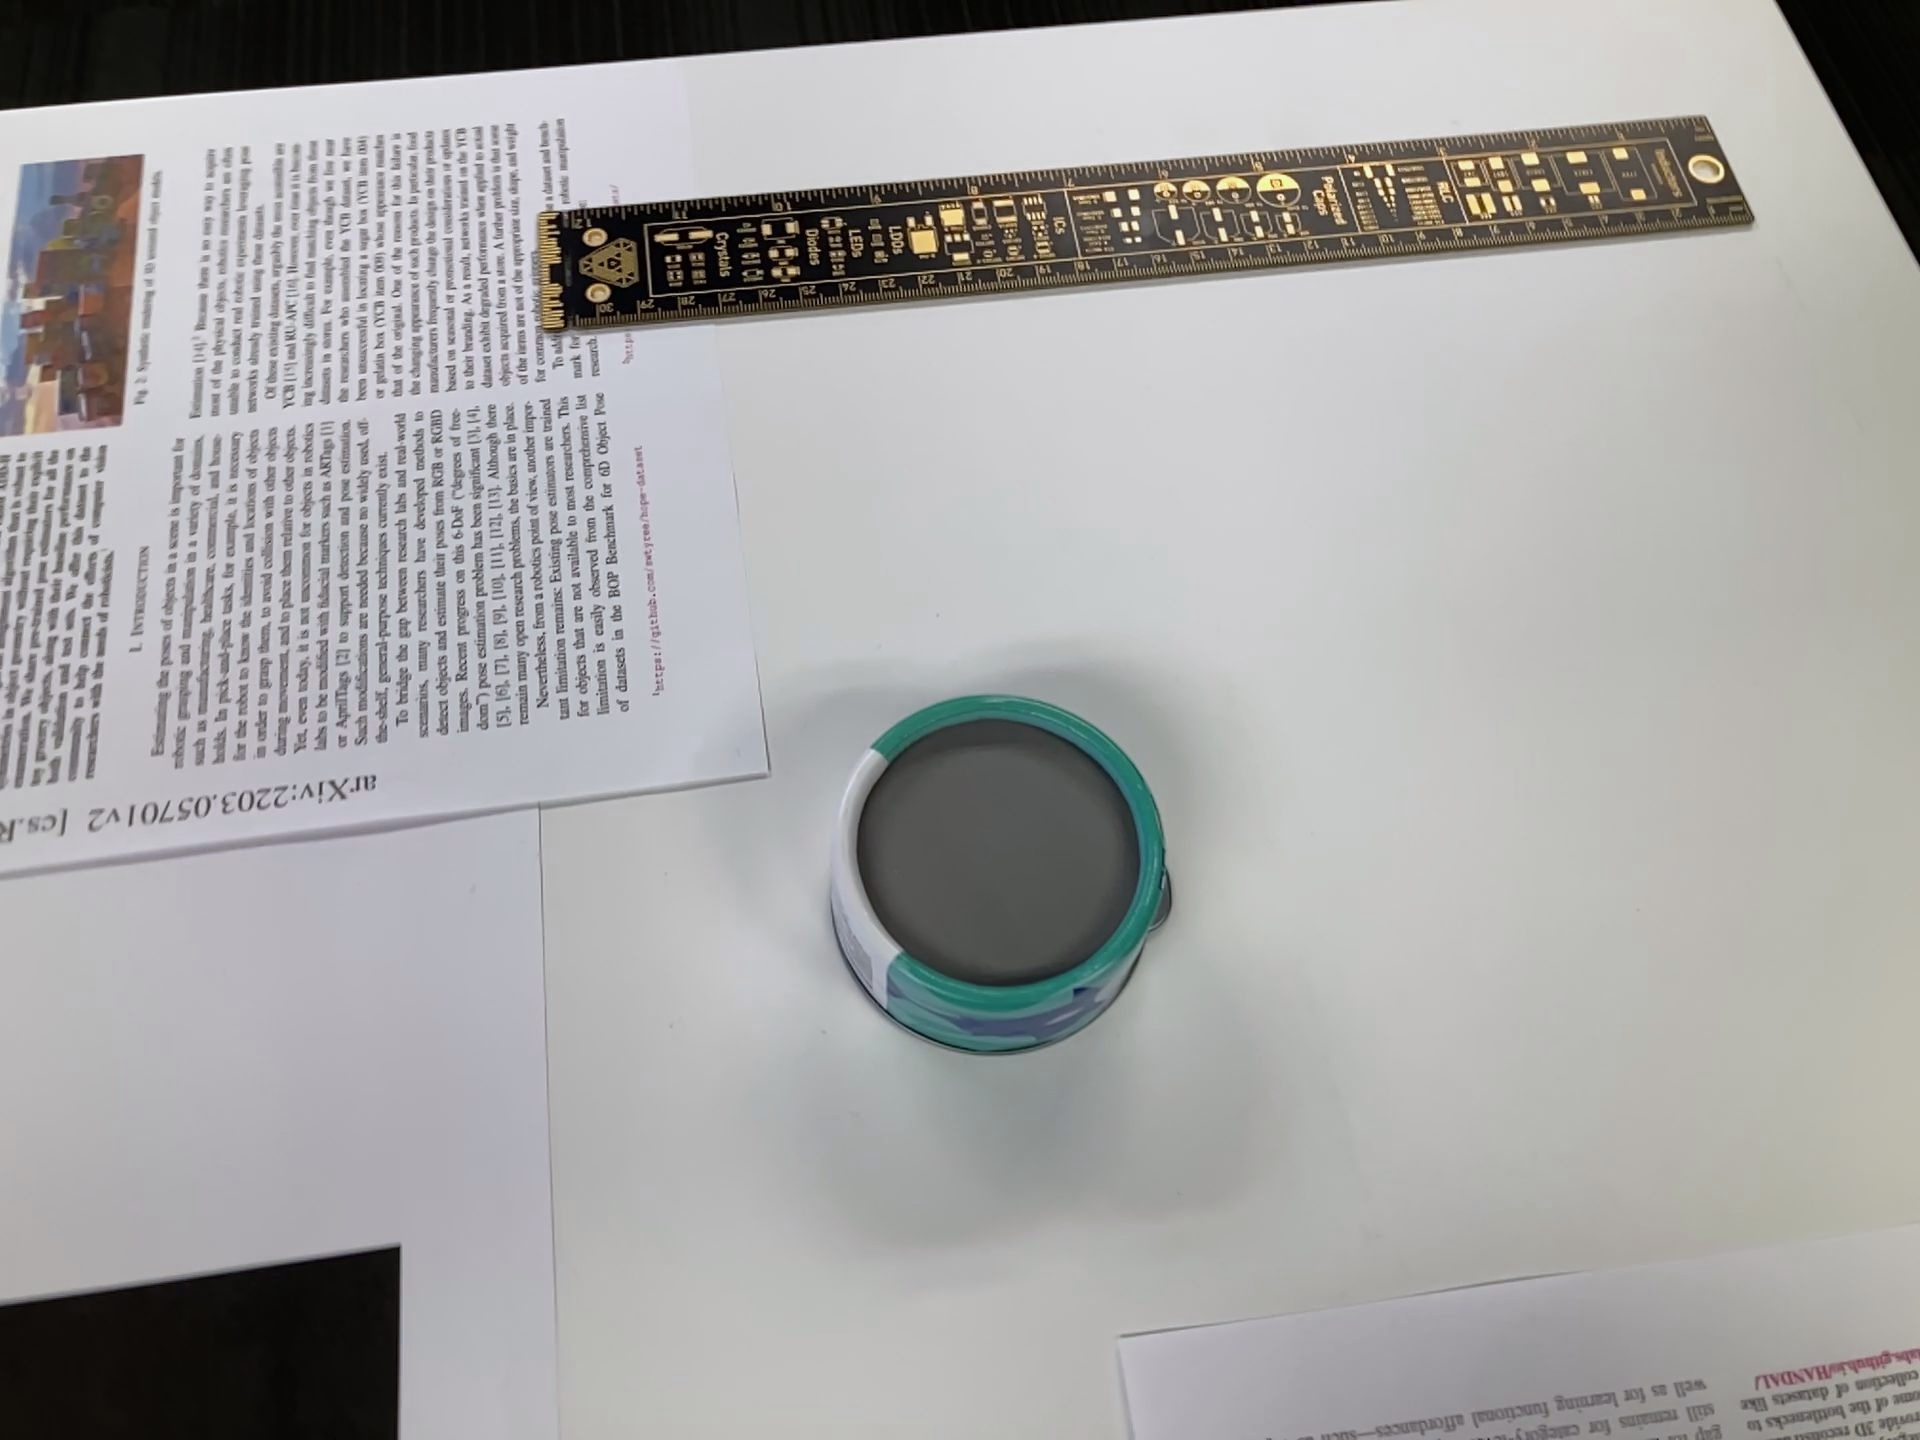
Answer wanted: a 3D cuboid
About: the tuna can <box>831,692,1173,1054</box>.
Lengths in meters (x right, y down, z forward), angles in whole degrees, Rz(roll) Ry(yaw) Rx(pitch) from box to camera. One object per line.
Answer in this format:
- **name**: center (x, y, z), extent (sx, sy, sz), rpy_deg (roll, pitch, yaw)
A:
- **tuna can**: center (0.010, 0.030, 0.315), extent (0.071, 0.033, 0.071), rpy_deg (1, 65, -3)
